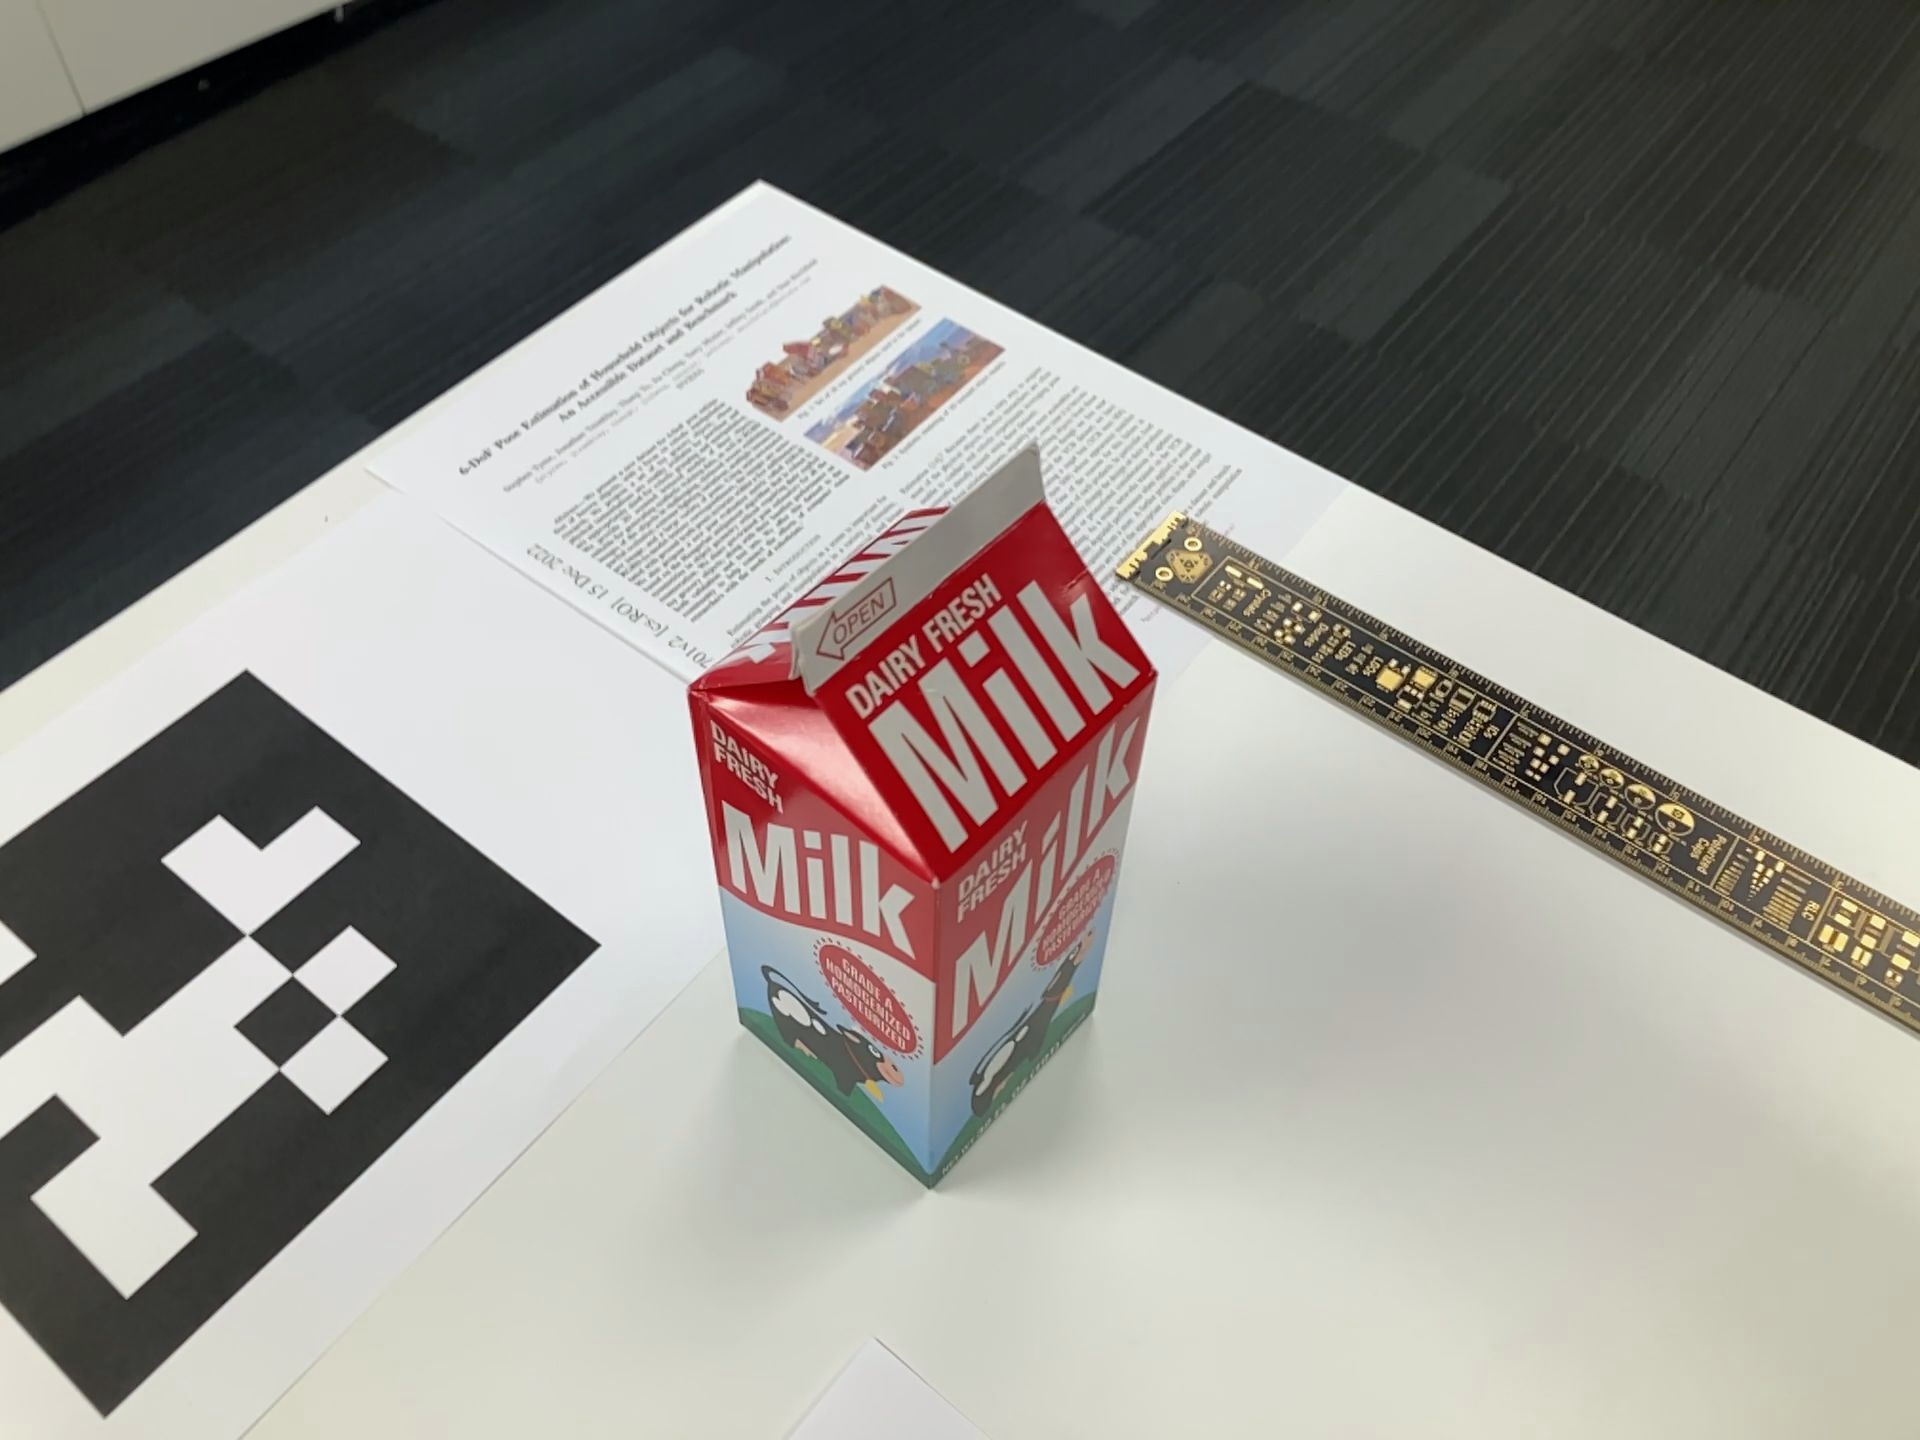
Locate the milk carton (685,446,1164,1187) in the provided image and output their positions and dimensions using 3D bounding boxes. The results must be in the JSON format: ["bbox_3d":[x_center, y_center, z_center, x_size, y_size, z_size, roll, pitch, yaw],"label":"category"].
[{"bbox_3d":[-0.009,0.025,0.366,0.073,0.190,0.072,35,58,23],"label":"milk carton"}]
